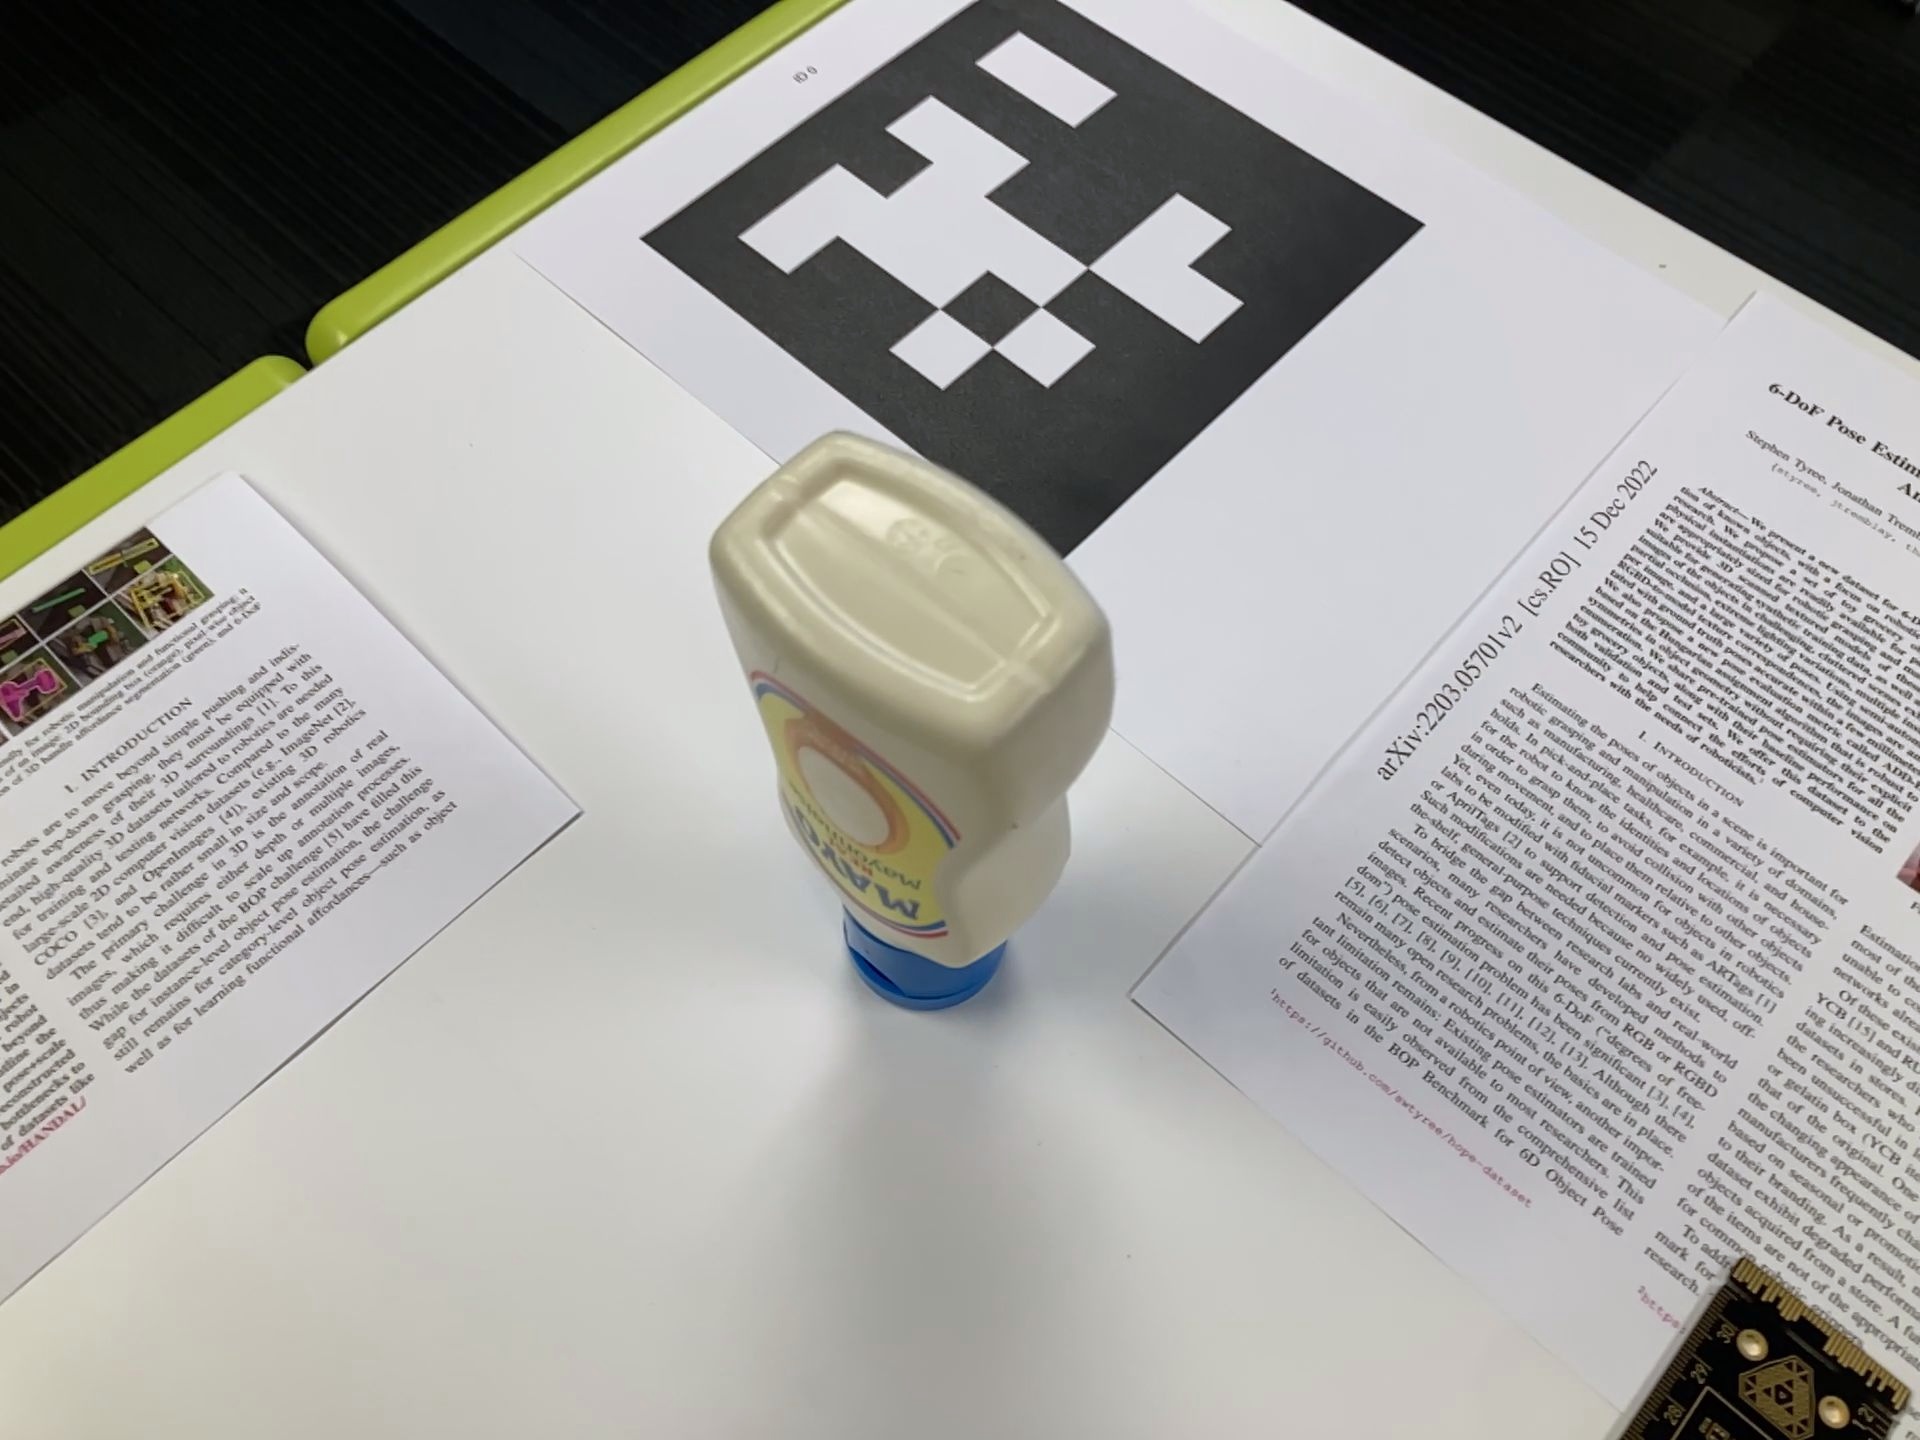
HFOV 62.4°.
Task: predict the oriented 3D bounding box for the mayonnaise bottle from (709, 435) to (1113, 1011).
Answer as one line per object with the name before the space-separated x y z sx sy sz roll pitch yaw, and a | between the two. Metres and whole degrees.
mayonnaise bottle | -0.008 0.014 0.293 0.065 0.148 0.041 38 68 18
